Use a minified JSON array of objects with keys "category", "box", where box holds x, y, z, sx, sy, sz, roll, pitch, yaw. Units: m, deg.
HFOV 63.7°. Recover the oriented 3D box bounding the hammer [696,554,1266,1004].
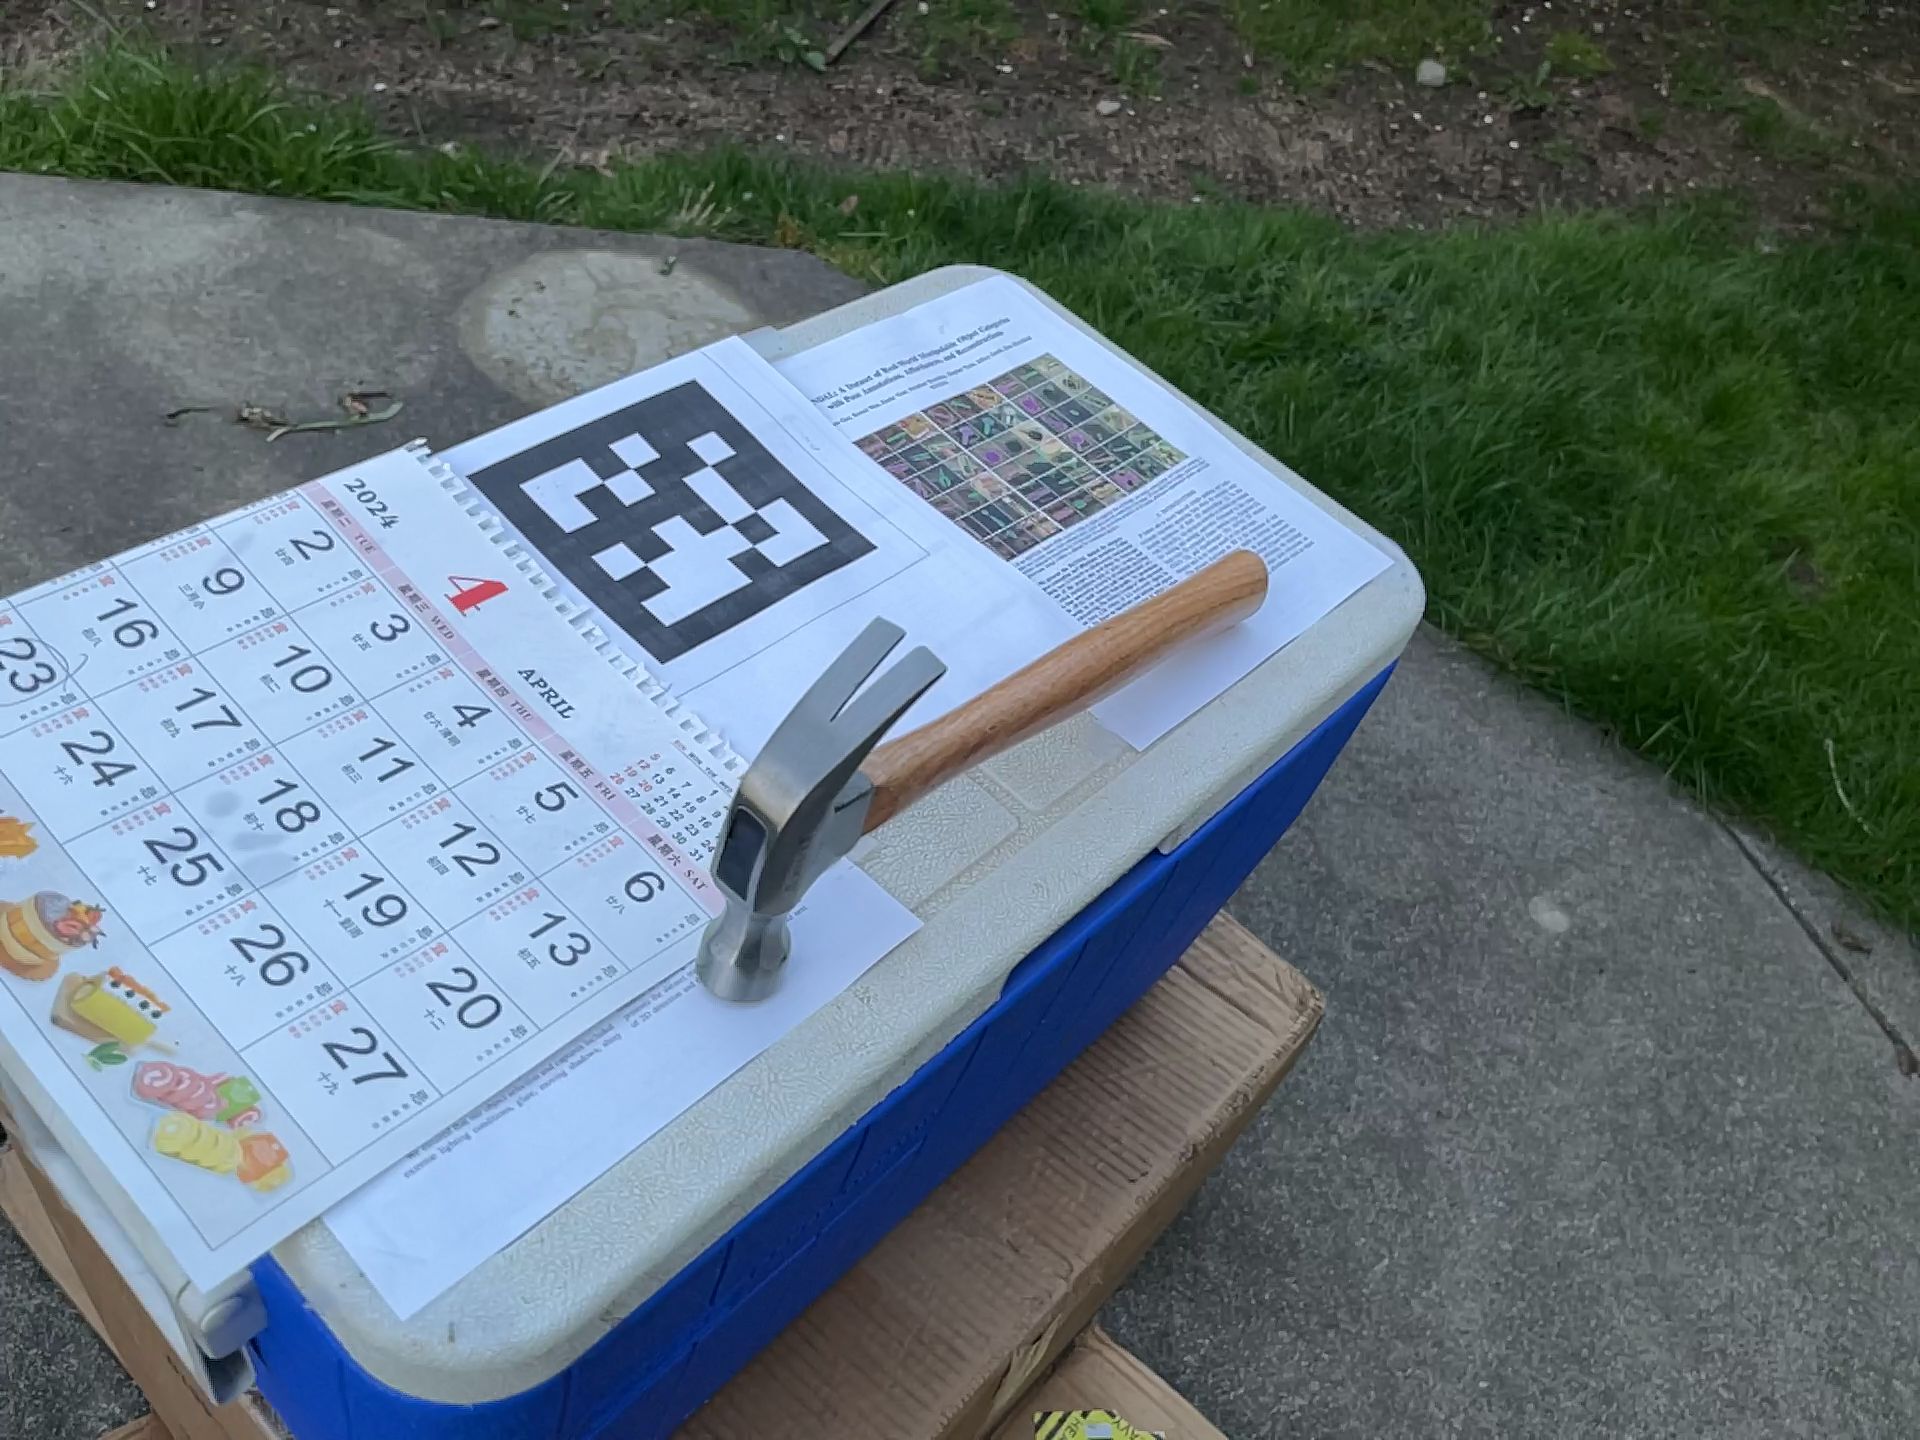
[{"category":"hammer","box":[0.032,-0.011,0.608,0.031,0.130,0.331,37,39,22]}]
